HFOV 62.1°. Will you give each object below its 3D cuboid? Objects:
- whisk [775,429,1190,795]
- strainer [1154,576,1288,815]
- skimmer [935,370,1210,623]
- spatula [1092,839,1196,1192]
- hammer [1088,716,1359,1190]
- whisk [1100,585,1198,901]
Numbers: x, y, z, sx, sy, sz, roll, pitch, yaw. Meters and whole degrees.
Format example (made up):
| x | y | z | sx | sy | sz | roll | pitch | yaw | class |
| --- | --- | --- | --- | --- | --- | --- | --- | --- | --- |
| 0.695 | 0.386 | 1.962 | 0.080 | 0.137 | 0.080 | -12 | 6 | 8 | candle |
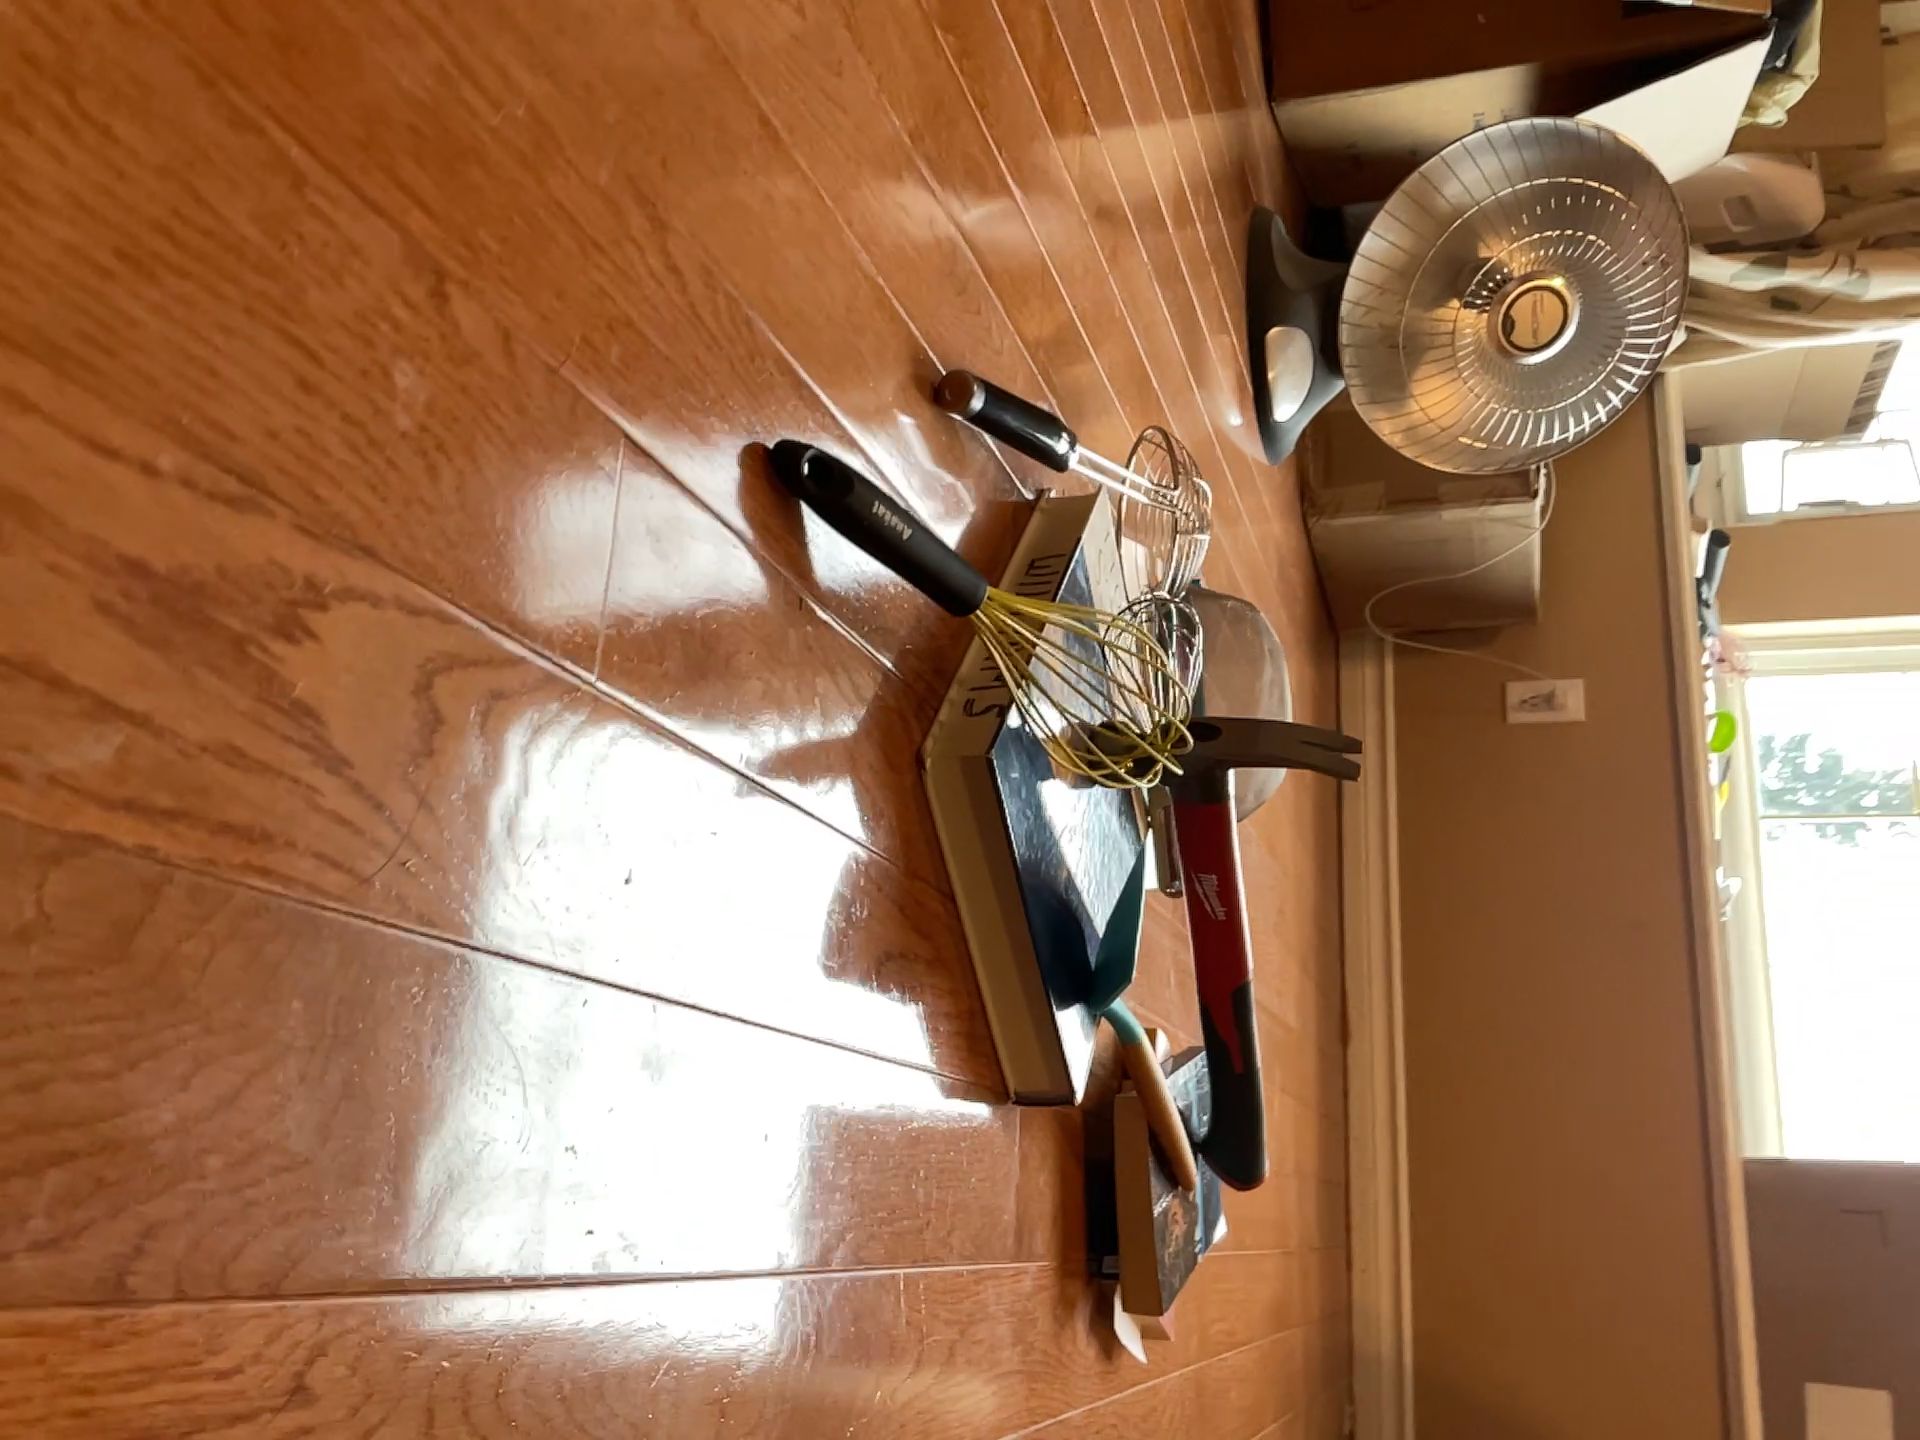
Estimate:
| x | y | z | sx | sy | sz | roll | pitch | yaw | class |
| --- | --- | --- | --- | --- | --- | --- | --- | --- | --- |
| 0.017 | -0.044 | 0.689 | 0.311 | 0.067 | 0.080 | 35 | 69 | -50 | whisk |
| 0.195 | -0.003 | 1.180 | 0.340 | 0.095 | 0.211 | -30 | 116 | -77 | strainer |
| 0.060 | -0.138 | 0.927 | 0.363 | 0.090 | 0.127 | 10 | 80 | -60 | skimmer |
| 0.111 | 0.191 | 0.893 | 0.317 | 0.044 | 0.083 | 68 | 25 | -45 | spatula |
| 0.173 | 0.157 | 0.961 | 0.038 | 0.143 | 0.386 | -66 | 151 | -47 | hammer |
| 0.121 | 0.022 | 0.960 | 0.059 | 0.058 | 0.246 | -119 | -167 | -49 | whisk |
